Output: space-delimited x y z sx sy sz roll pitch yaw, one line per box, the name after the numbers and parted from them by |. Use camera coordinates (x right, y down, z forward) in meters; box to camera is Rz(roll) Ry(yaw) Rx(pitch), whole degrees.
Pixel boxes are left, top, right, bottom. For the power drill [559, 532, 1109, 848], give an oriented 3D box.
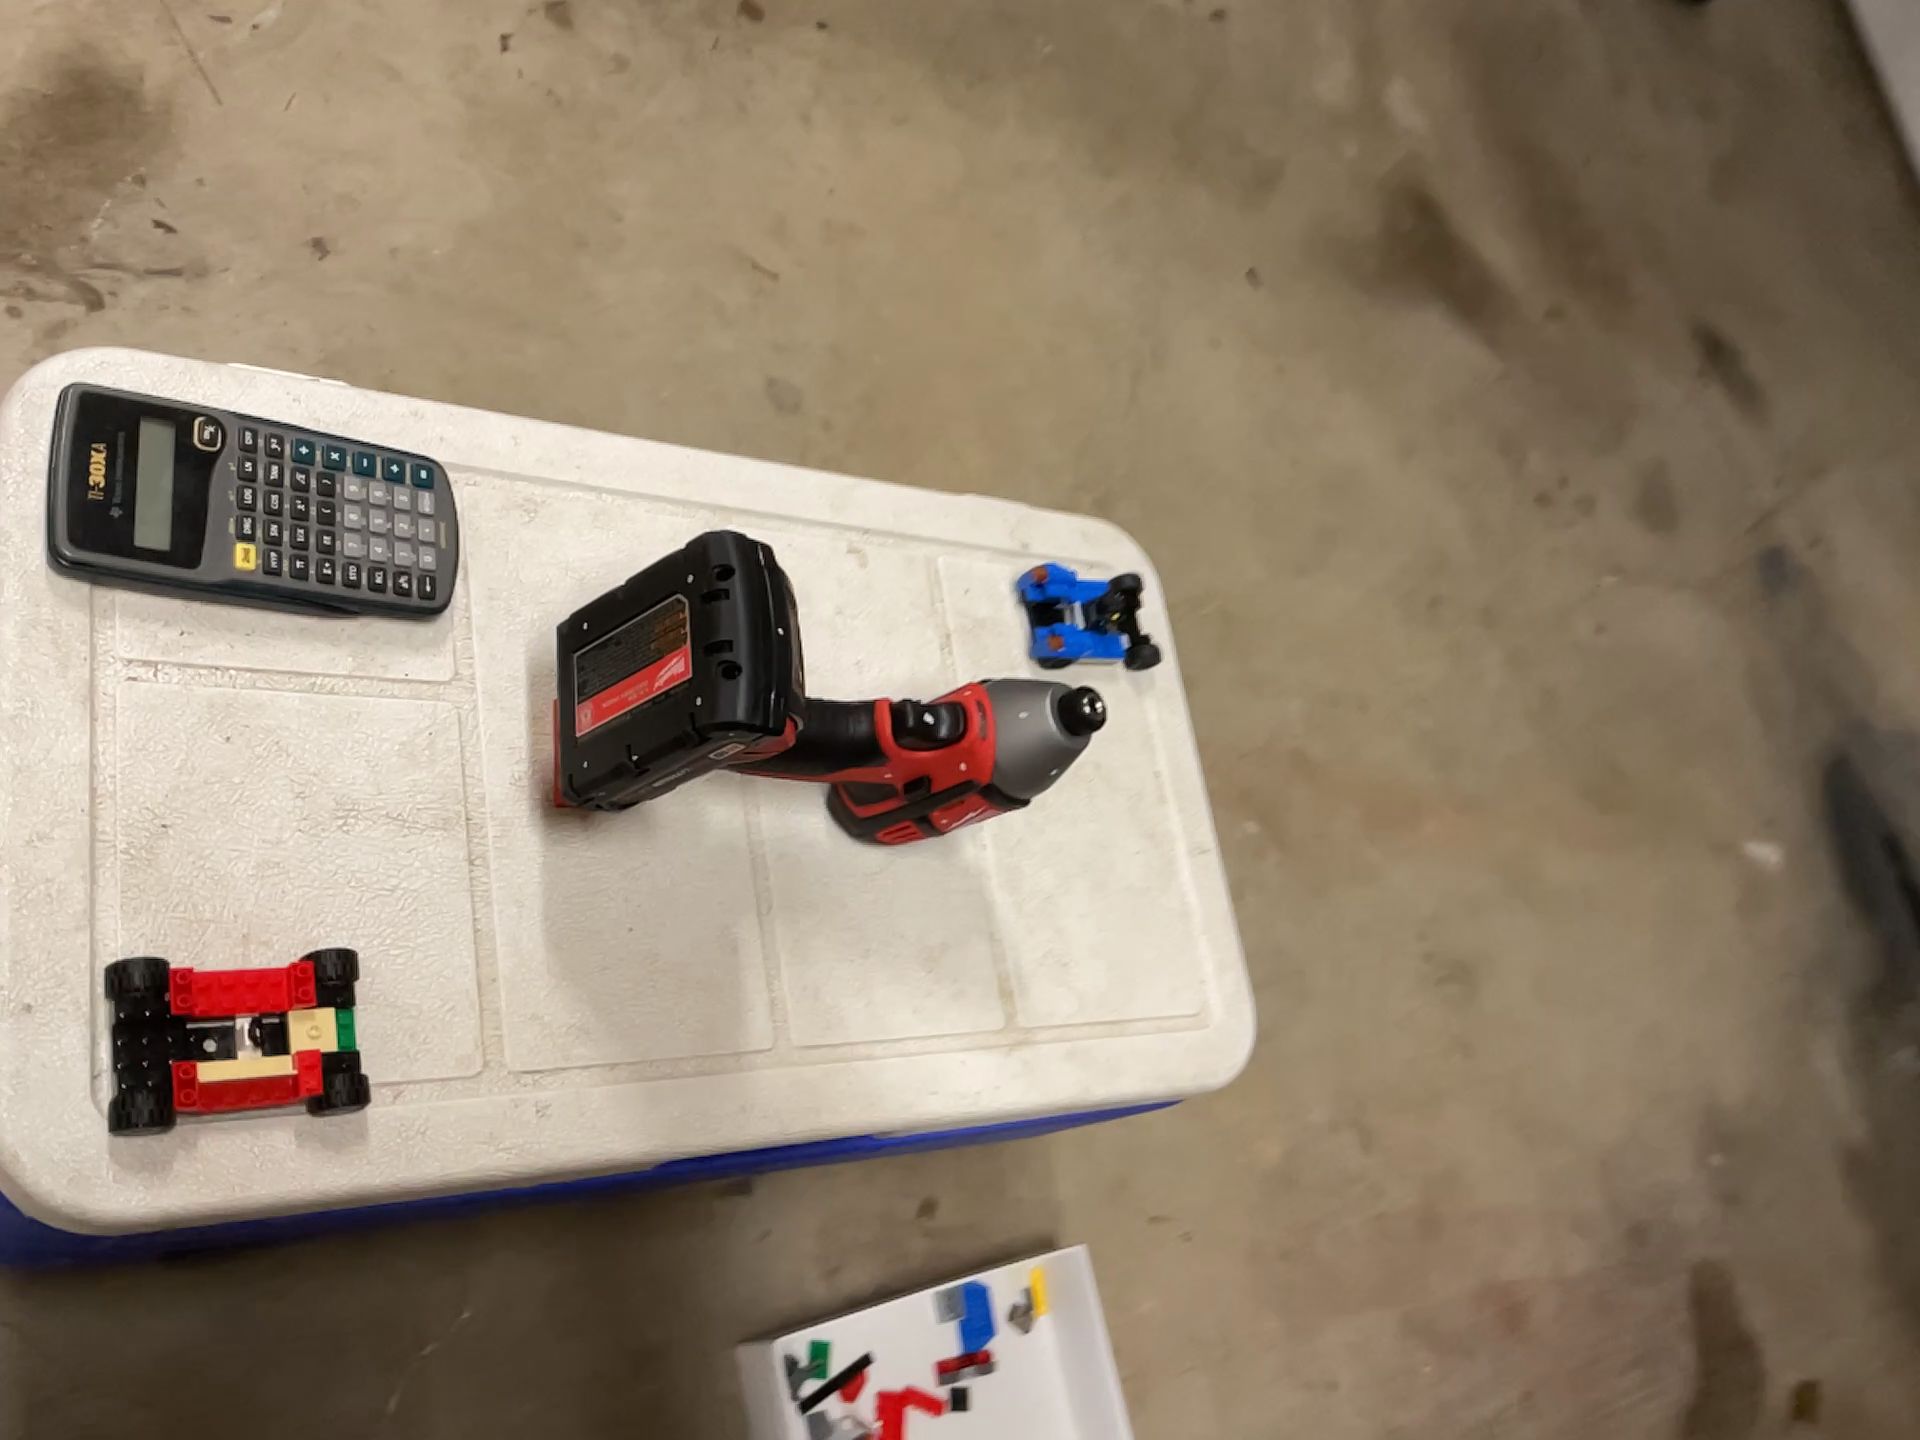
-0.046 0.000 0.674 0.219 0.143 0.079 17 59 -47 | power drill
